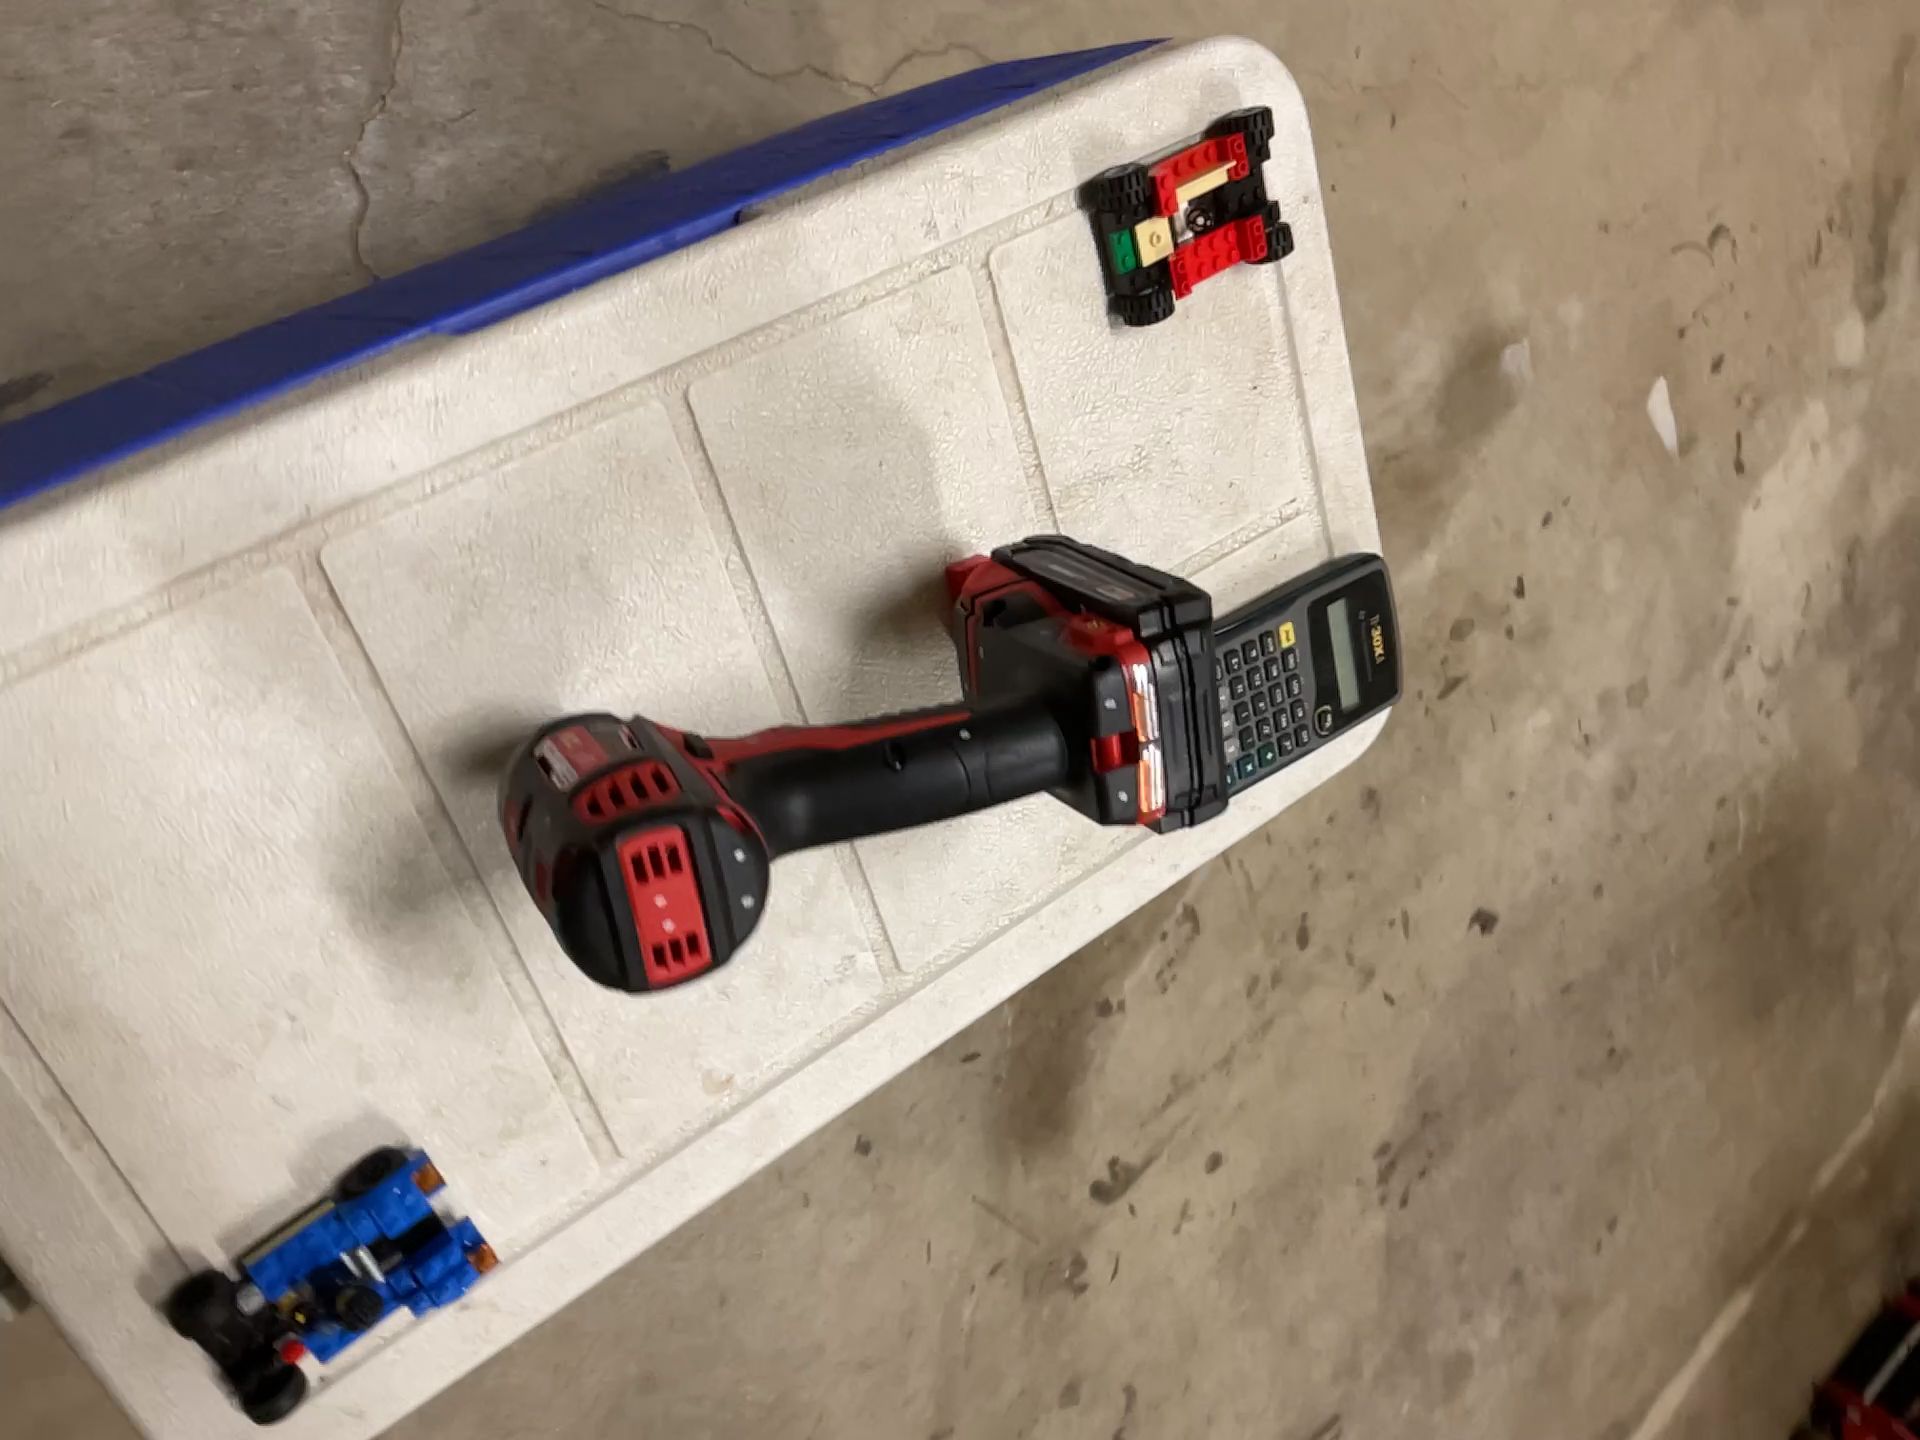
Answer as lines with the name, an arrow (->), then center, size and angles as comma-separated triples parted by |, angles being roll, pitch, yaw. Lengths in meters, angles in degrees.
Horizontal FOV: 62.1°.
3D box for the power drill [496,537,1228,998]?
power drill -> -0.037, 0.009, 0.513 | 0.220, 0.143, 0.078 | -17, 112, -21
